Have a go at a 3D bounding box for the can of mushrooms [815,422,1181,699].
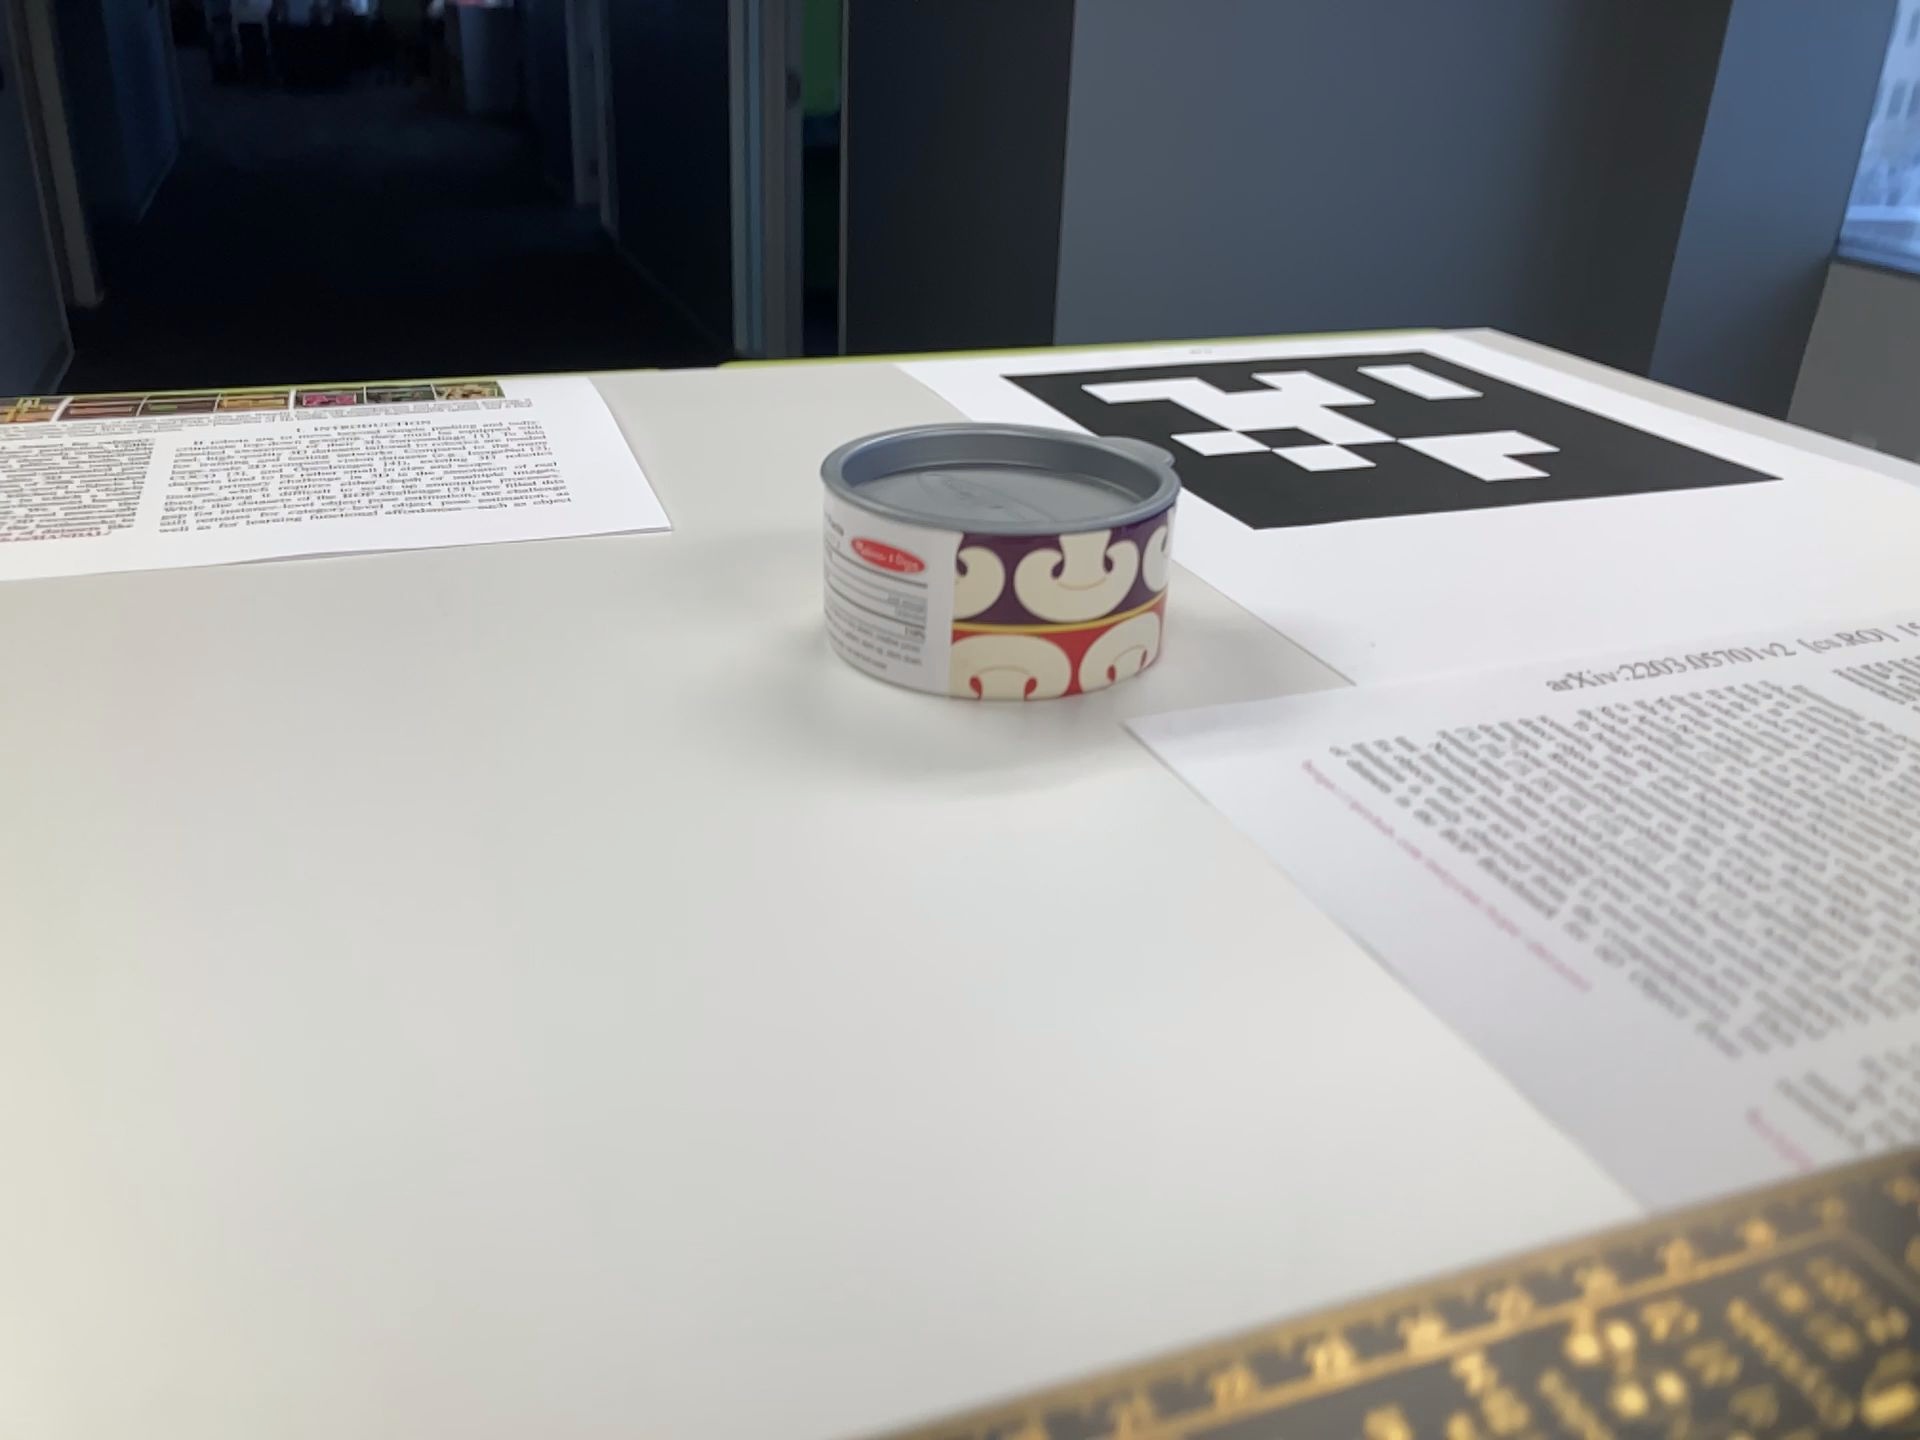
[{"bbox_3d":[0.009,-0.032,0.296,0.071,0.033,0.071,1,24,-1],"label":"can of mushrooms"}]
